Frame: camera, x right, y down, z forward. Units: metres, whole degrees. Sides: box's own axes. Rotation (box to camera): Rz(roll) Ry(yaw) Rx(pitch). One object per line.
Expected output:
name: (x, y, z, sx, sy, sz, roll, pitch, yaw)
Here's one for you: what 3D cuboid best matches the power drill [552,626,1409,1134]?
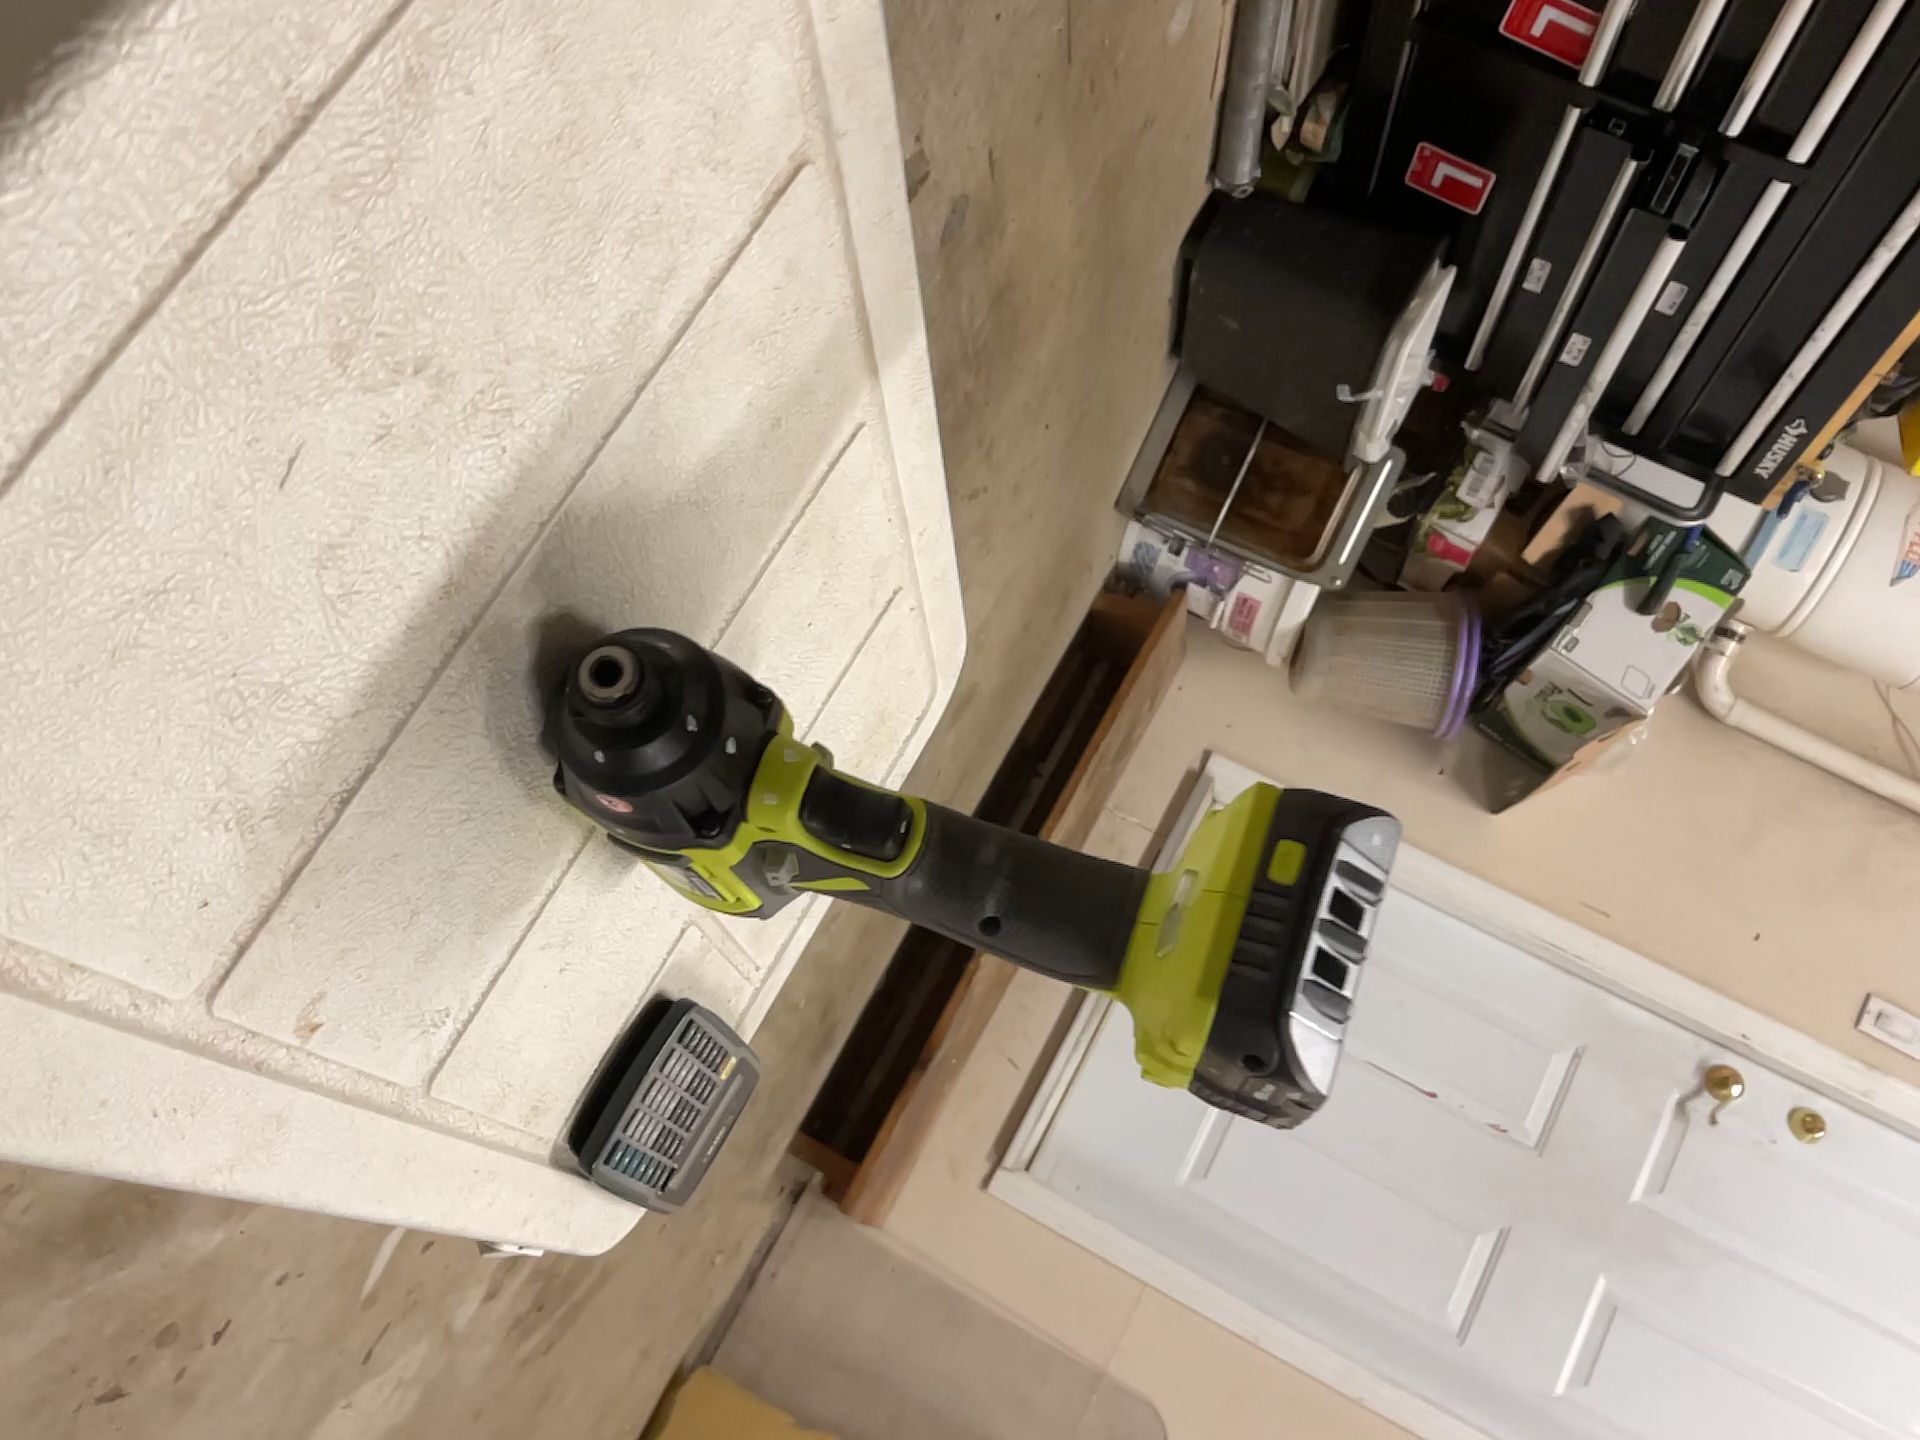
power drill: (0.000, 0.040, 0.449, 0.171, 0.223, 0.080, 76, 32, -71)
